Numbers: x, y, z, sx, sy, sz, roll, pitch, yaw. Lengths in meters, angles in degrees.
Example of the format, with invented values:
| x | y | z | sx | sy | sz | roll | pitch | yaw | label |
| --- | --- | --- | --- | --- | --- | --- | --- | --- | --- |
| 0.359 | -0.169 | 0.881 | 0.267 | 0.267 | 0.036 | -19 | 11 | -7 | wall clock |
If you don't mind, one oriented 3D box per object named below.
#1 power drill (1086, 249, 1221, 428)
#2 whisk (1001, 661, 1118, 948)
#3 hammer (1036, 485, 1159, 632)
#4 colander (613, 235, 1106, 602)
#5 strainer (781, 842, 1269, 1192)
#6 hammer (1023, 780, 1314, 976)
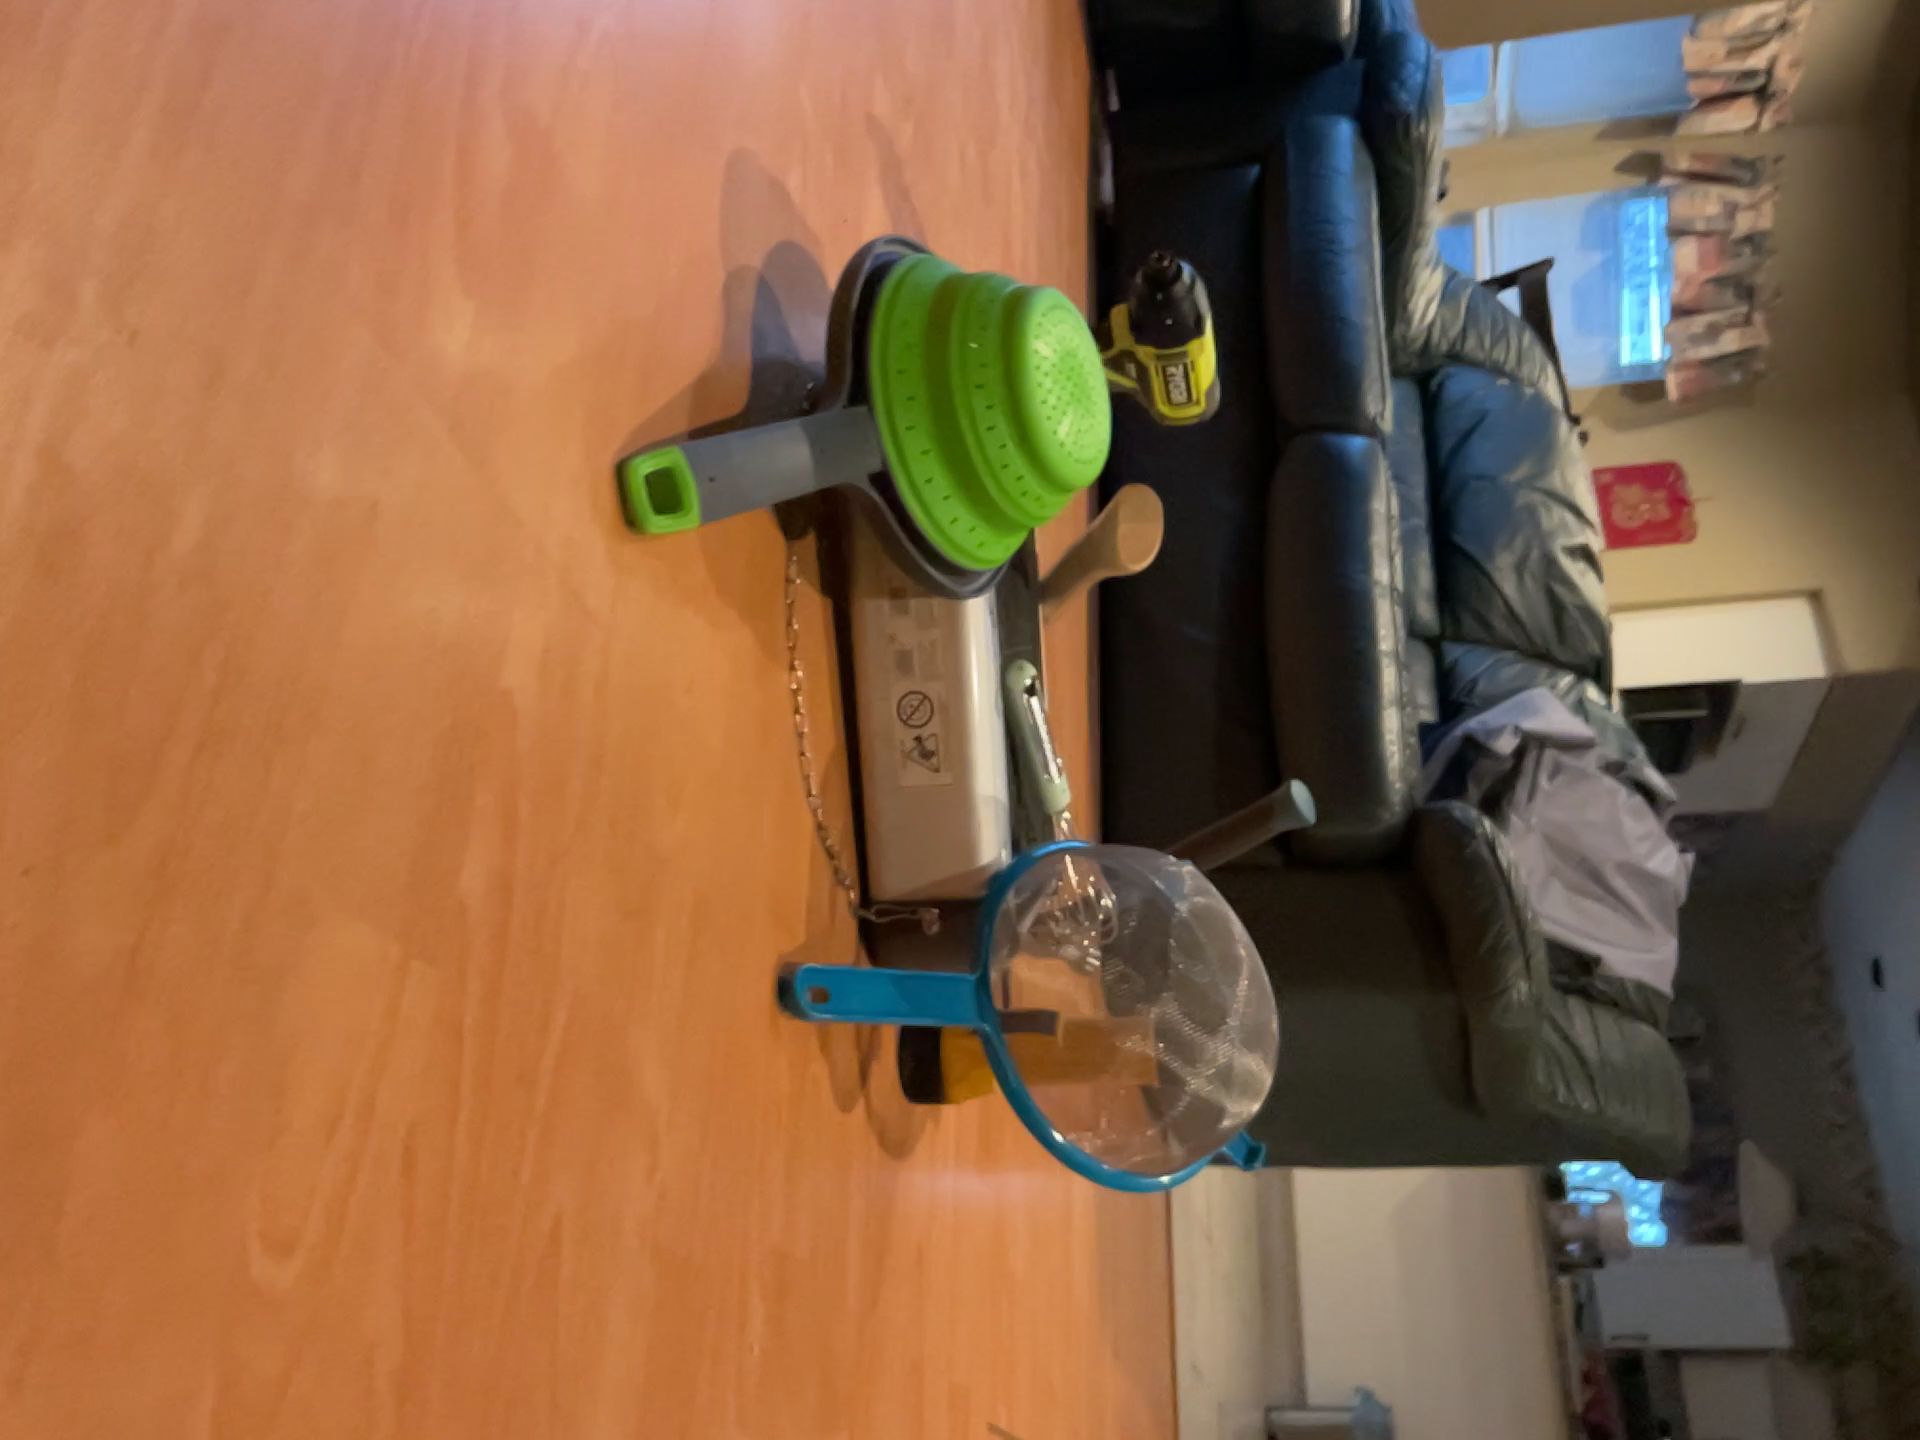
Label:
| x | y | z | sx | sy | sz | roll | pitch | yaw | label |
| --- | --- | --- | --- | --- | --- | --- | --- | --- | --- |
| 0.077 | -0.279 | 1.204 | 0.171 | 0.223 | 0.080 | 61 | 27 | -62 | power drill |
| 0.063 | 0.061 | 1.062 | 0.058 | 0.059 | 0.246 | -46 | 135 | -33 | whisk |
| 0.068 | -0.102 | 1.184 | 0.410 | 0.038 | 0.146 | 137 | -47 | -74 | hammer |
| -0.019 | -0.149 | 0.808 | 0.397 | 0.094 | 0.204 | -31 | 110 | -58 | colander |
| 0.064 | 0.146 | 0.884 | 0.340 | 0.095 | 0.211 | 11 | 59 | -41 | strainer |
| 0.163 | 0.130 | 1.330 | 0.128 | 0.330 | 0.033 | 27 | 49 | -28 | hammer |
